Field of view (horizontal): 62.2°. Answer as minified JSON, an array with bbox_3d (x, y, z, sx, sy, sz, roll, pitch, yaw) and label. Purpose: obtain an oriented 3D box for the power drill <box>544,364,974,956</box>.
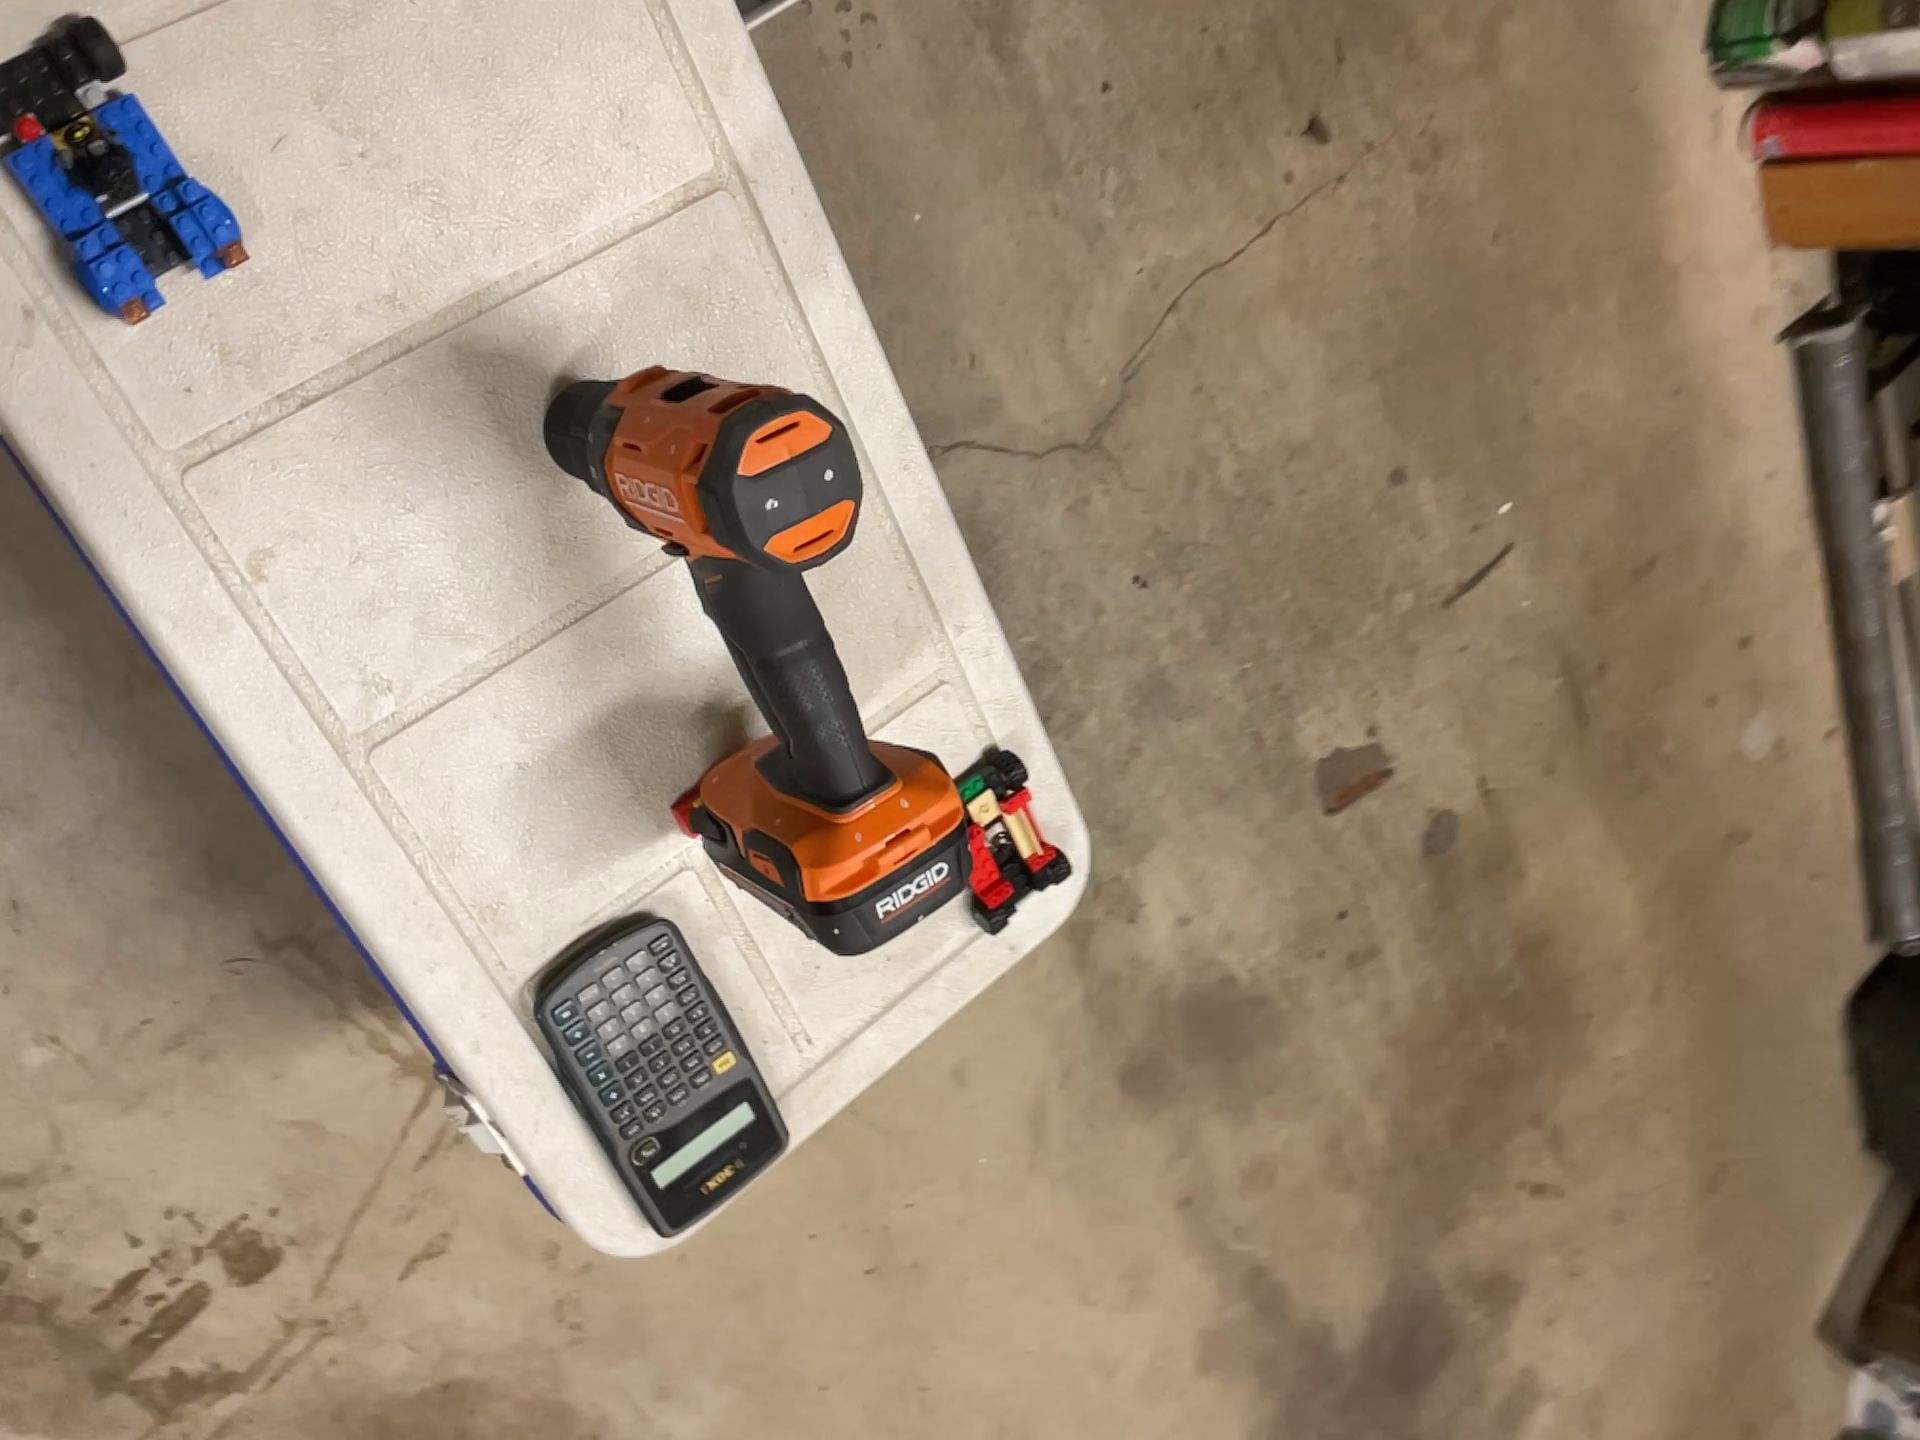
[{"bbox_3d":[-0.090,-0.035,0.647,0.084,0.185,0.226,-32,123,-27],"label":"power drill"}]
